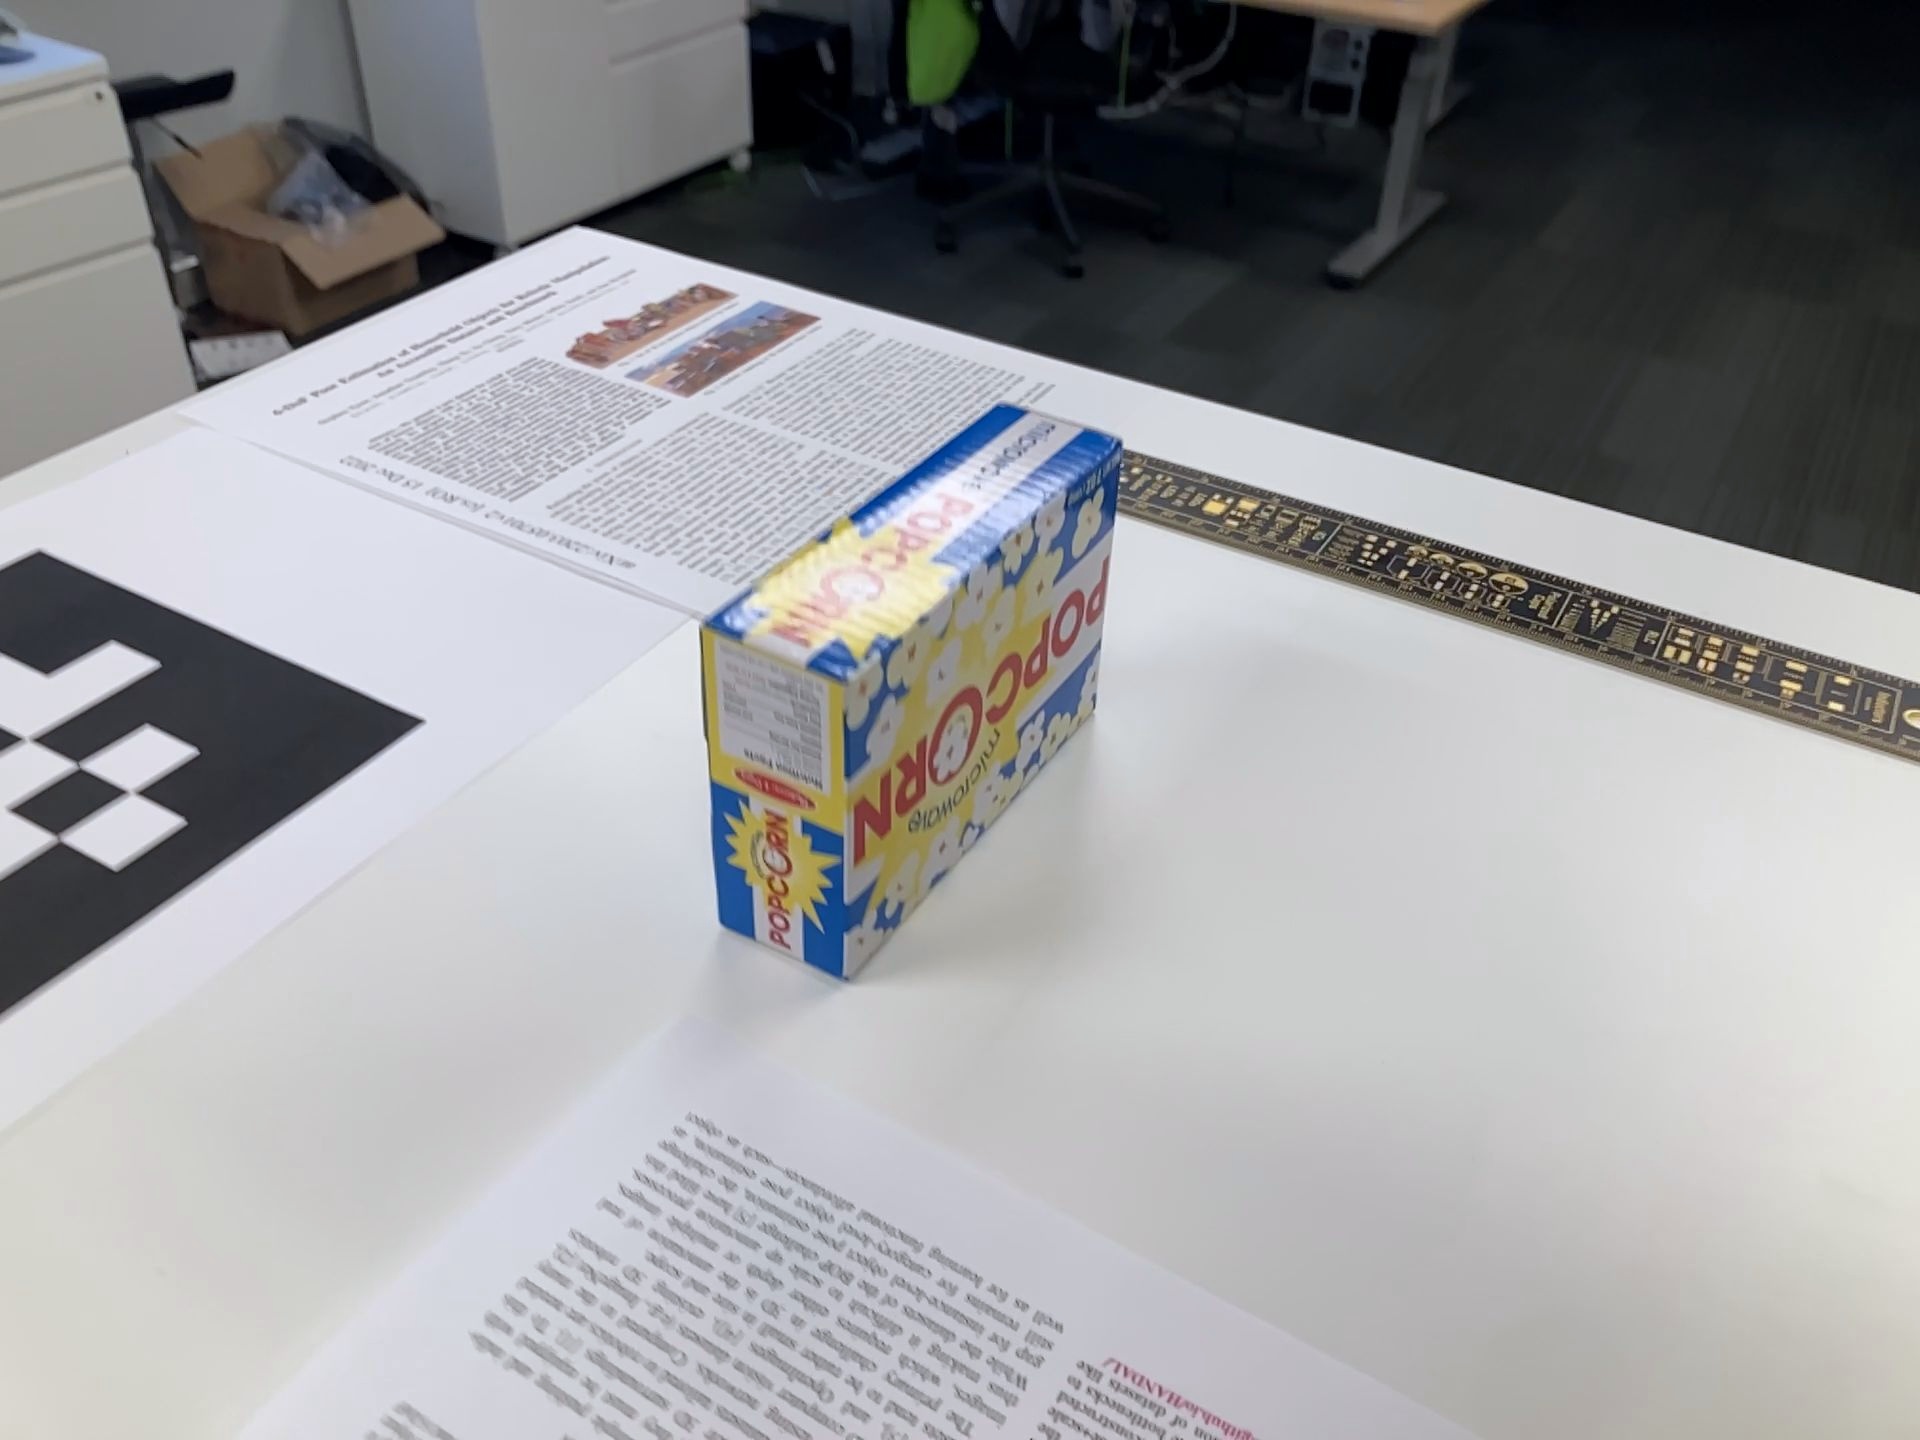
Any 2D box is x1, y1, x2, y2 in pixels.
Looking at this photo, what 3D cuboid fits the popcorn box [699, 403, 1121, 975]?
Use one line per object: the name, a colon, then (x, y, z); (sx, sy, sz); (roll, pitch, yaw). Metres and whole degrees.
popcorn box: (-0.007, -0.012, 0.381); (0.038, 0.085, 0.126); (22, 41, 22)
